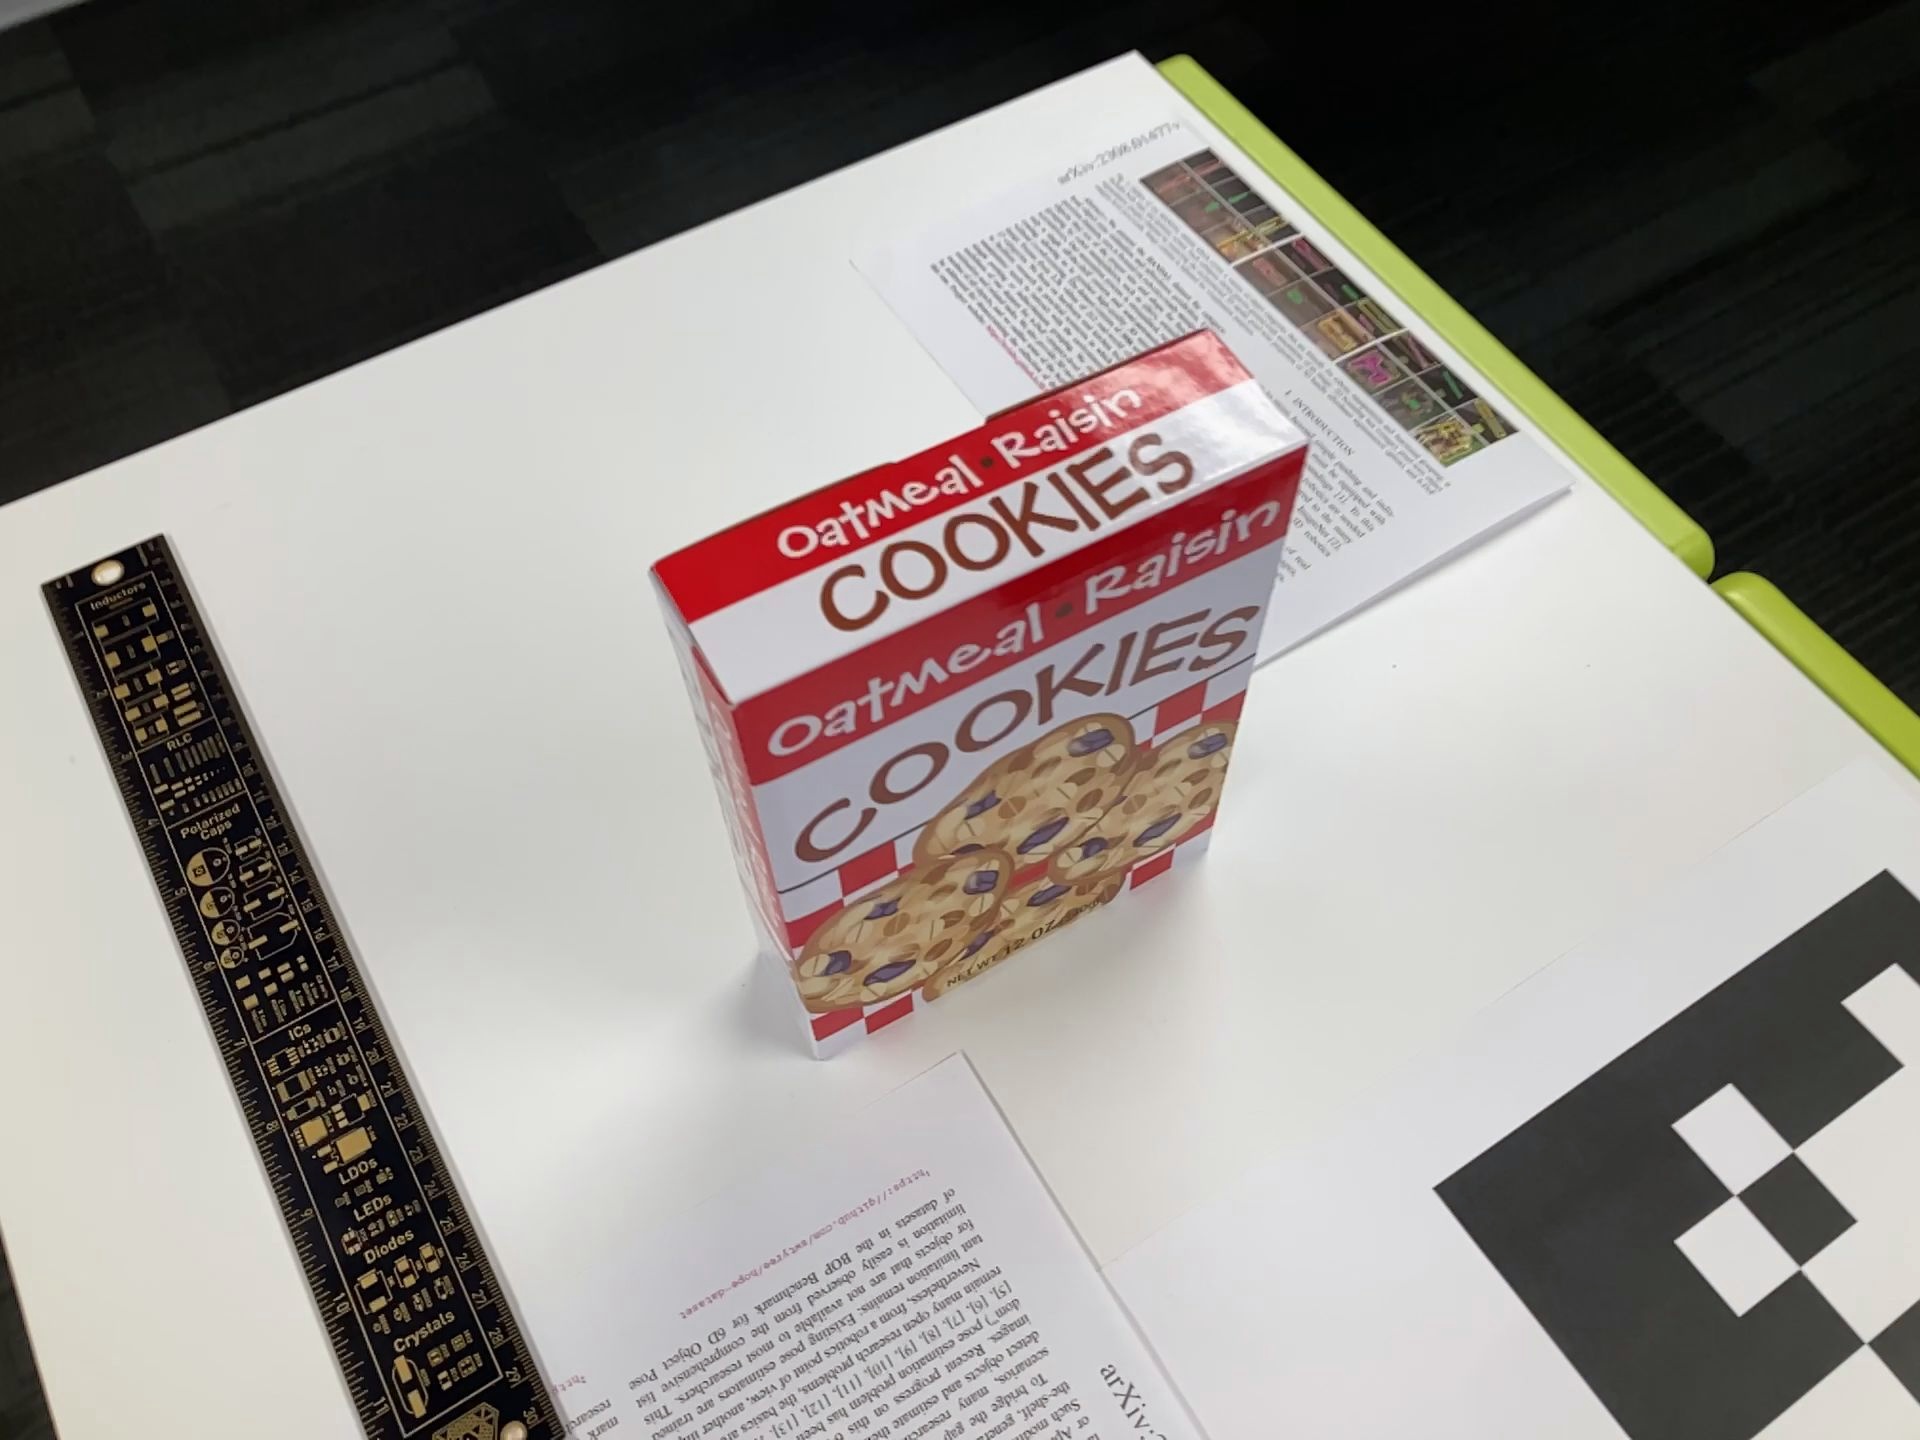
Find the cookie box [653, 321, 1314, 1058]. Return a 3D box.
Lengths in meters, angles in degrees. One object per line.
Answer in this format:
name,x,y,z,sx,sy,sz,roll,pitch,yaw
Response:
cookie box,0.006,0.002,0.360,0.123,0.167,0.040,-26,61,-15
